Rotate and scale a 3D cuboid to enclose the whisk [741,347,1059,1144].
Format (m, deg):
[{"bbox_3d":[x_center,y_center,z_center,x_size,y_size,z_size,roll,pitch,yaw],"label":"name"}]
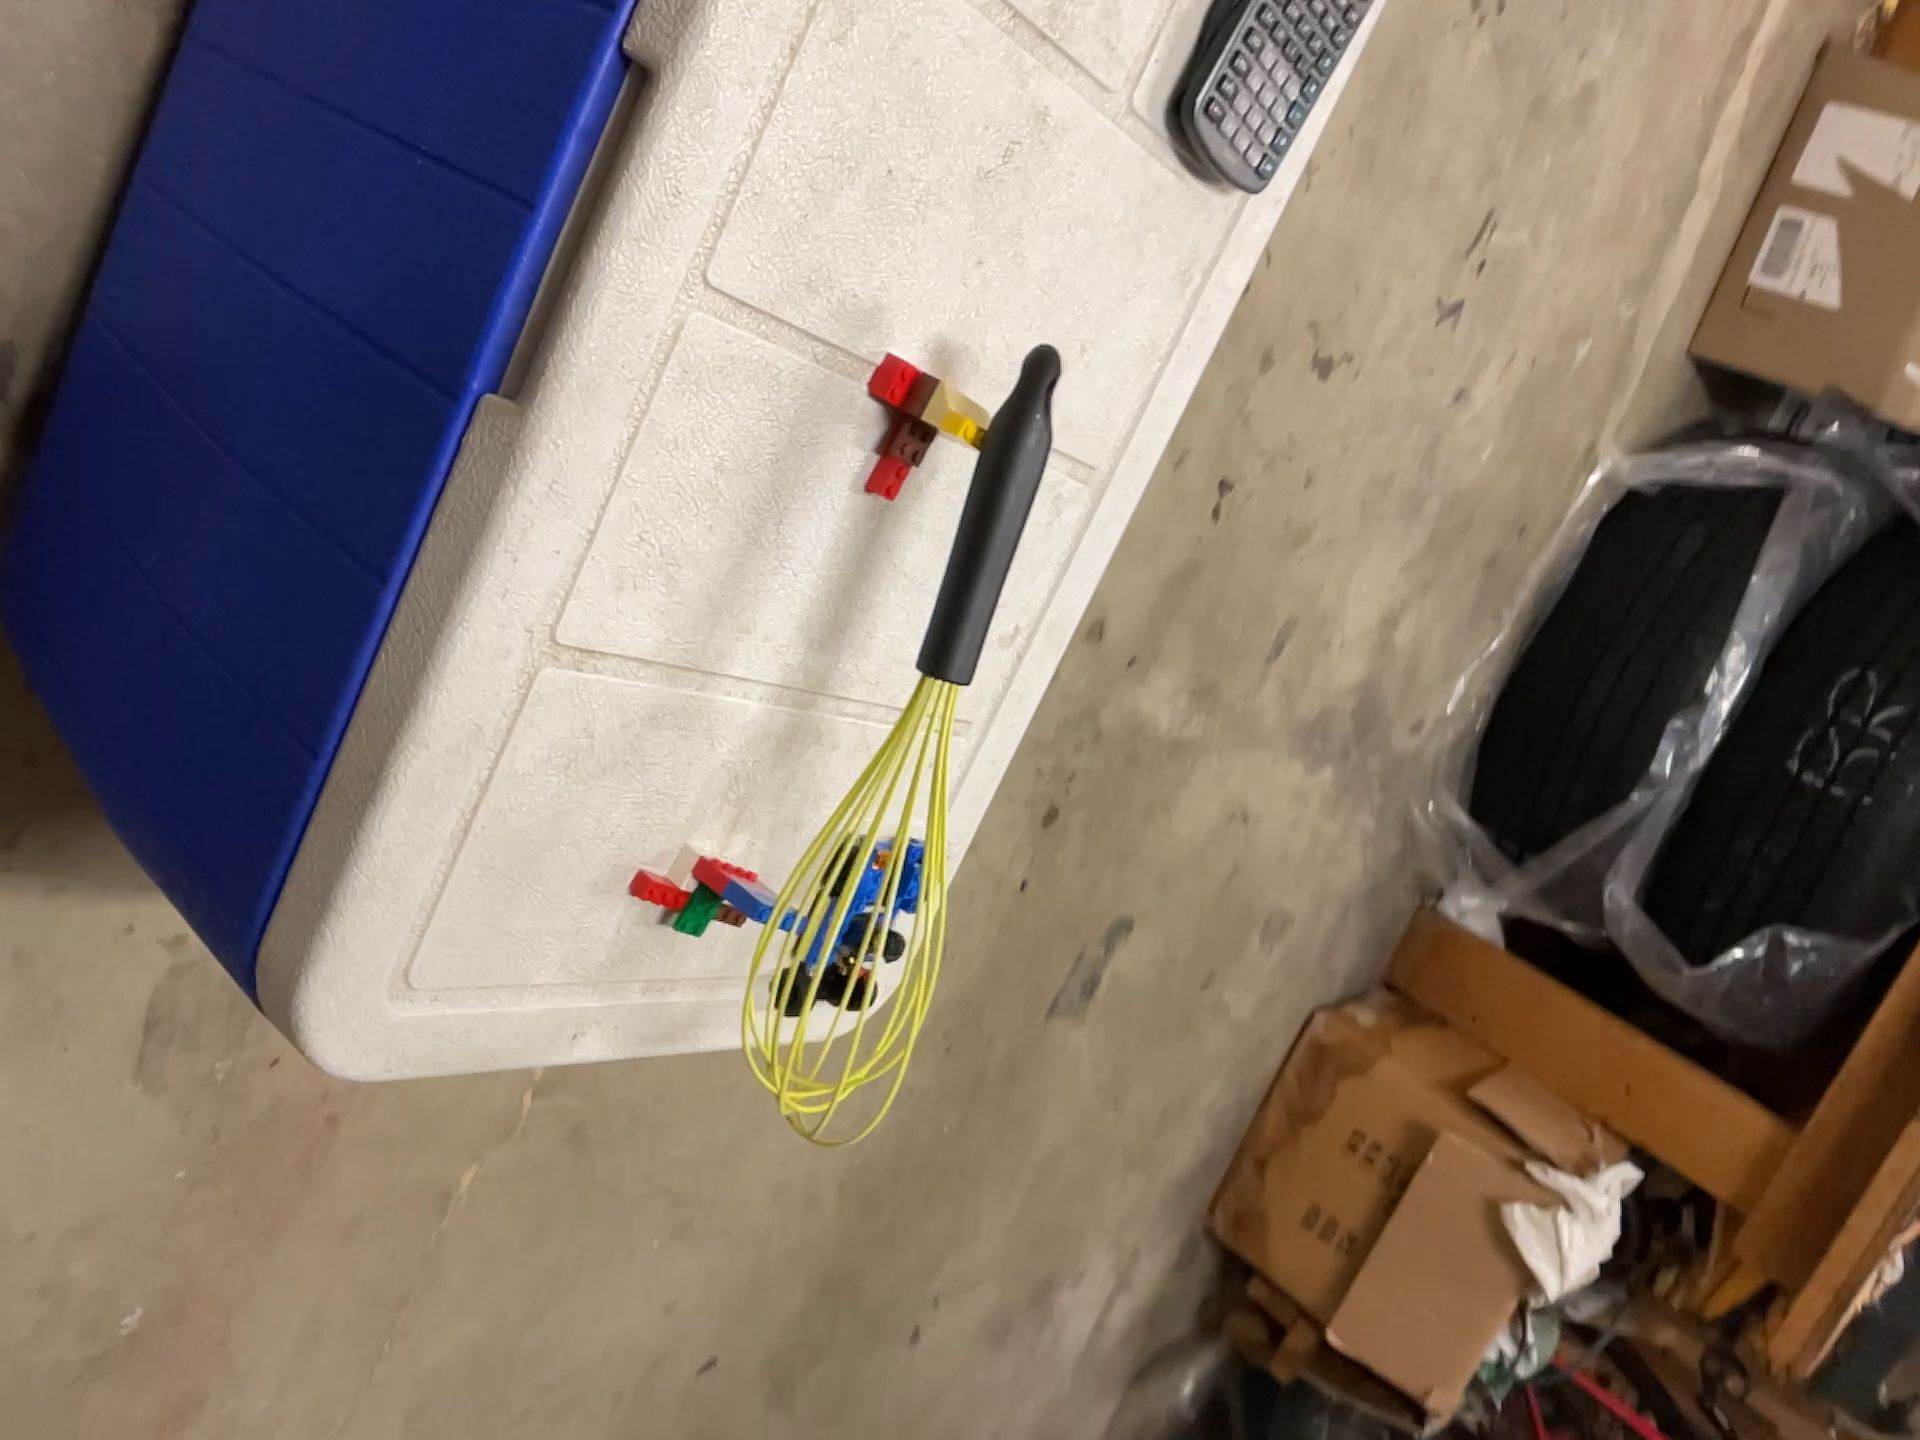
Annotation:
[{"bbox_3d":[-0.018,0.011,0.597,0.080,0.067,0.311,-127,-126,-77],"label":"whisk"}]
